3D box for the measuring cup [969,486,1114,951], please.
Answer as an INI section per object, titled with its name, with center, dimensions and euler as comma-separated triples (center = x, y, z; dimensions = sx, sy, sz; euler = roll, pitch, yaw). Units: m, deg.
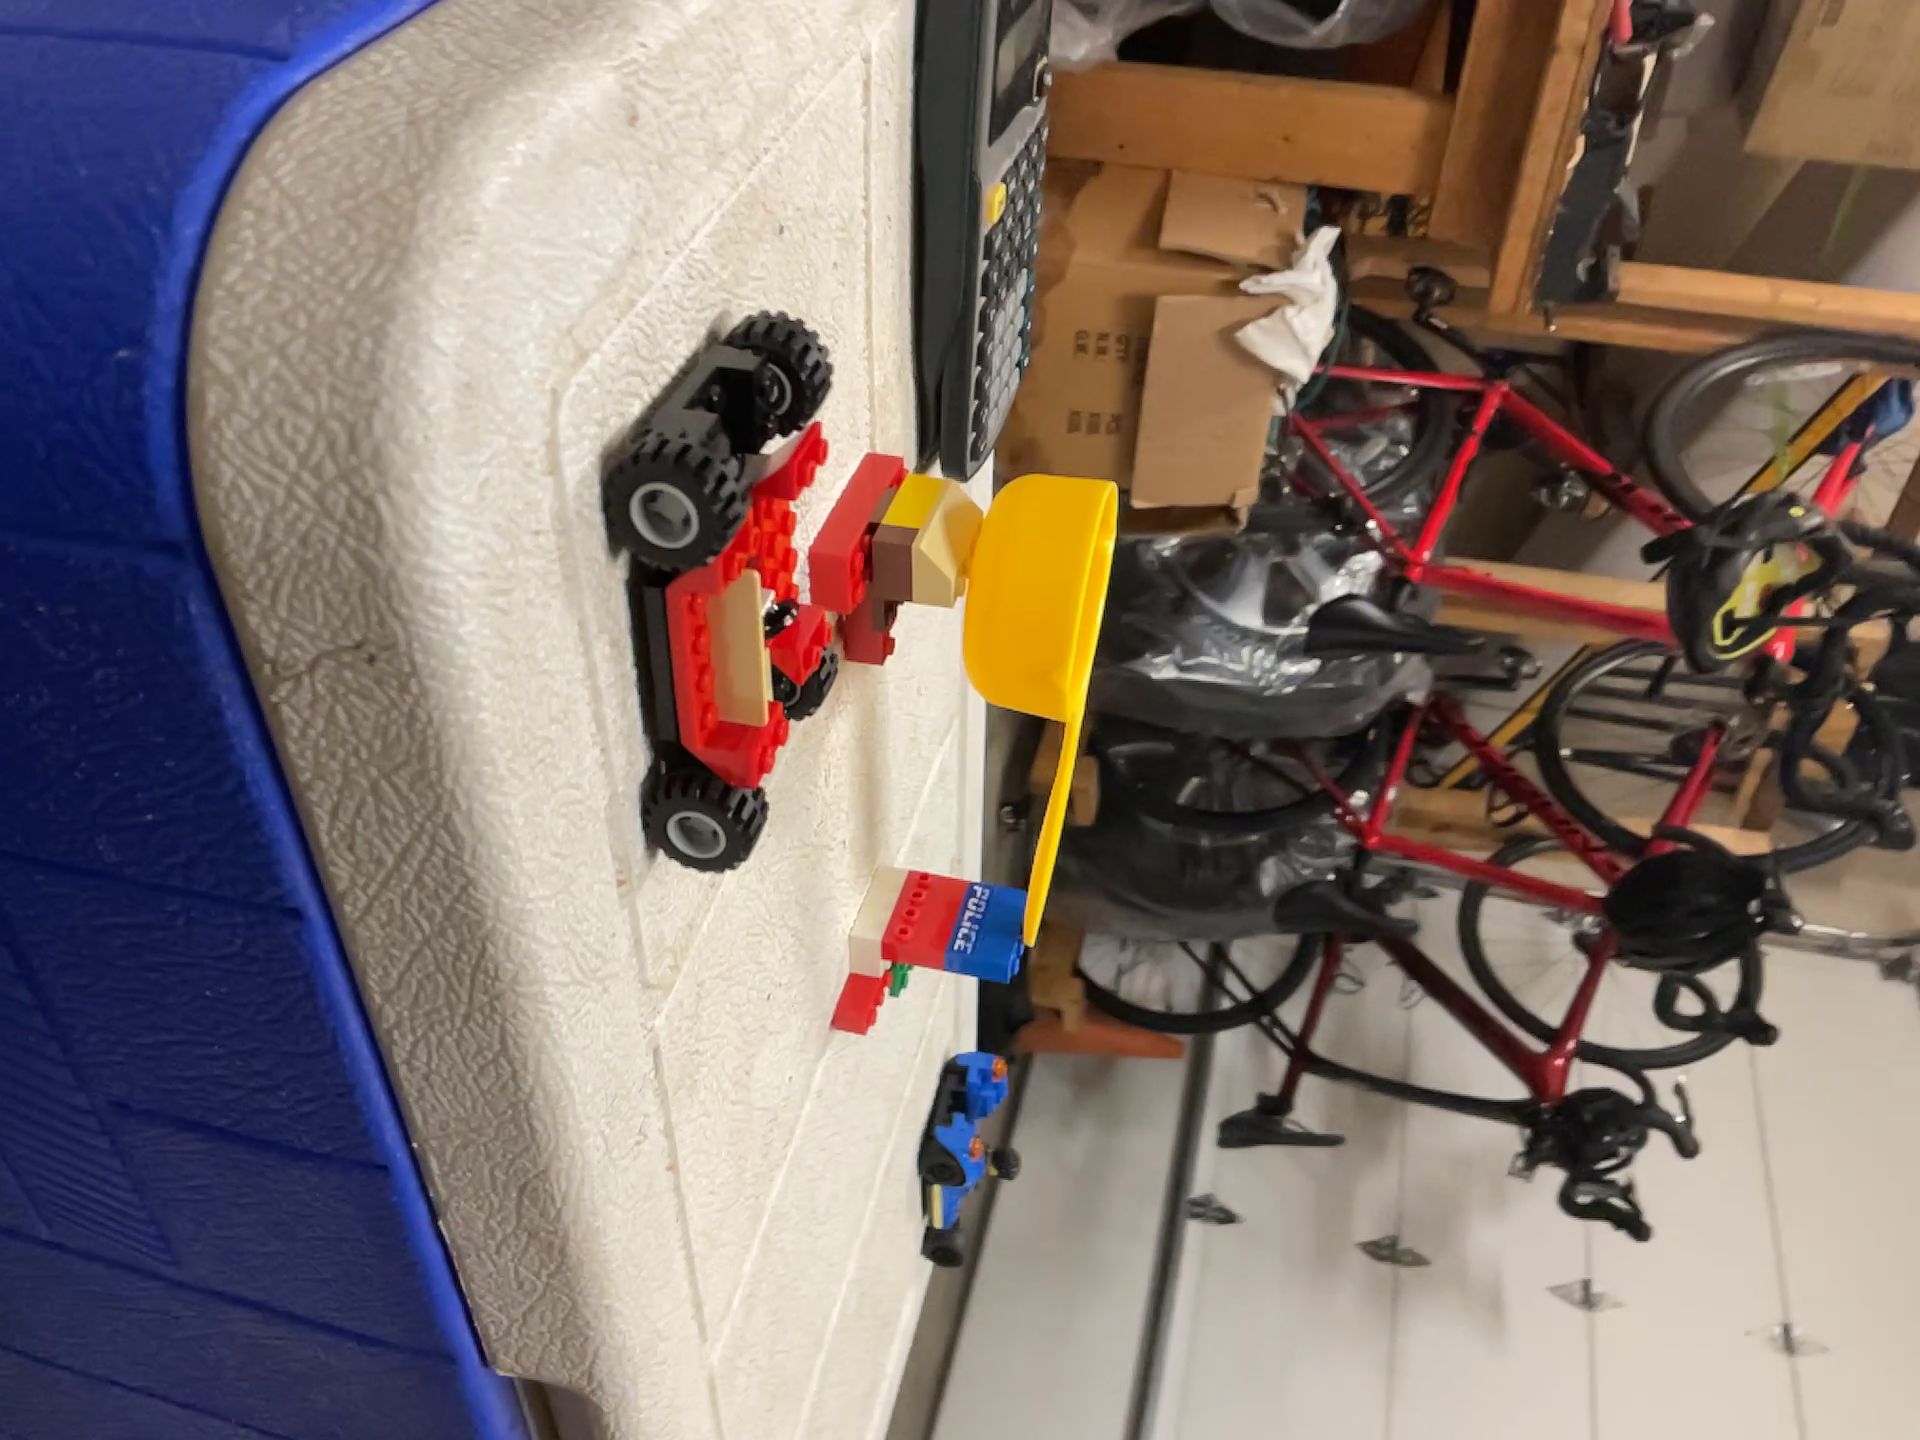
[measuring cup]
center = 0.016, 0.007, 0.429
dimensions = 0.062, 0.029, 0.156
euler = -69, 169, -48
